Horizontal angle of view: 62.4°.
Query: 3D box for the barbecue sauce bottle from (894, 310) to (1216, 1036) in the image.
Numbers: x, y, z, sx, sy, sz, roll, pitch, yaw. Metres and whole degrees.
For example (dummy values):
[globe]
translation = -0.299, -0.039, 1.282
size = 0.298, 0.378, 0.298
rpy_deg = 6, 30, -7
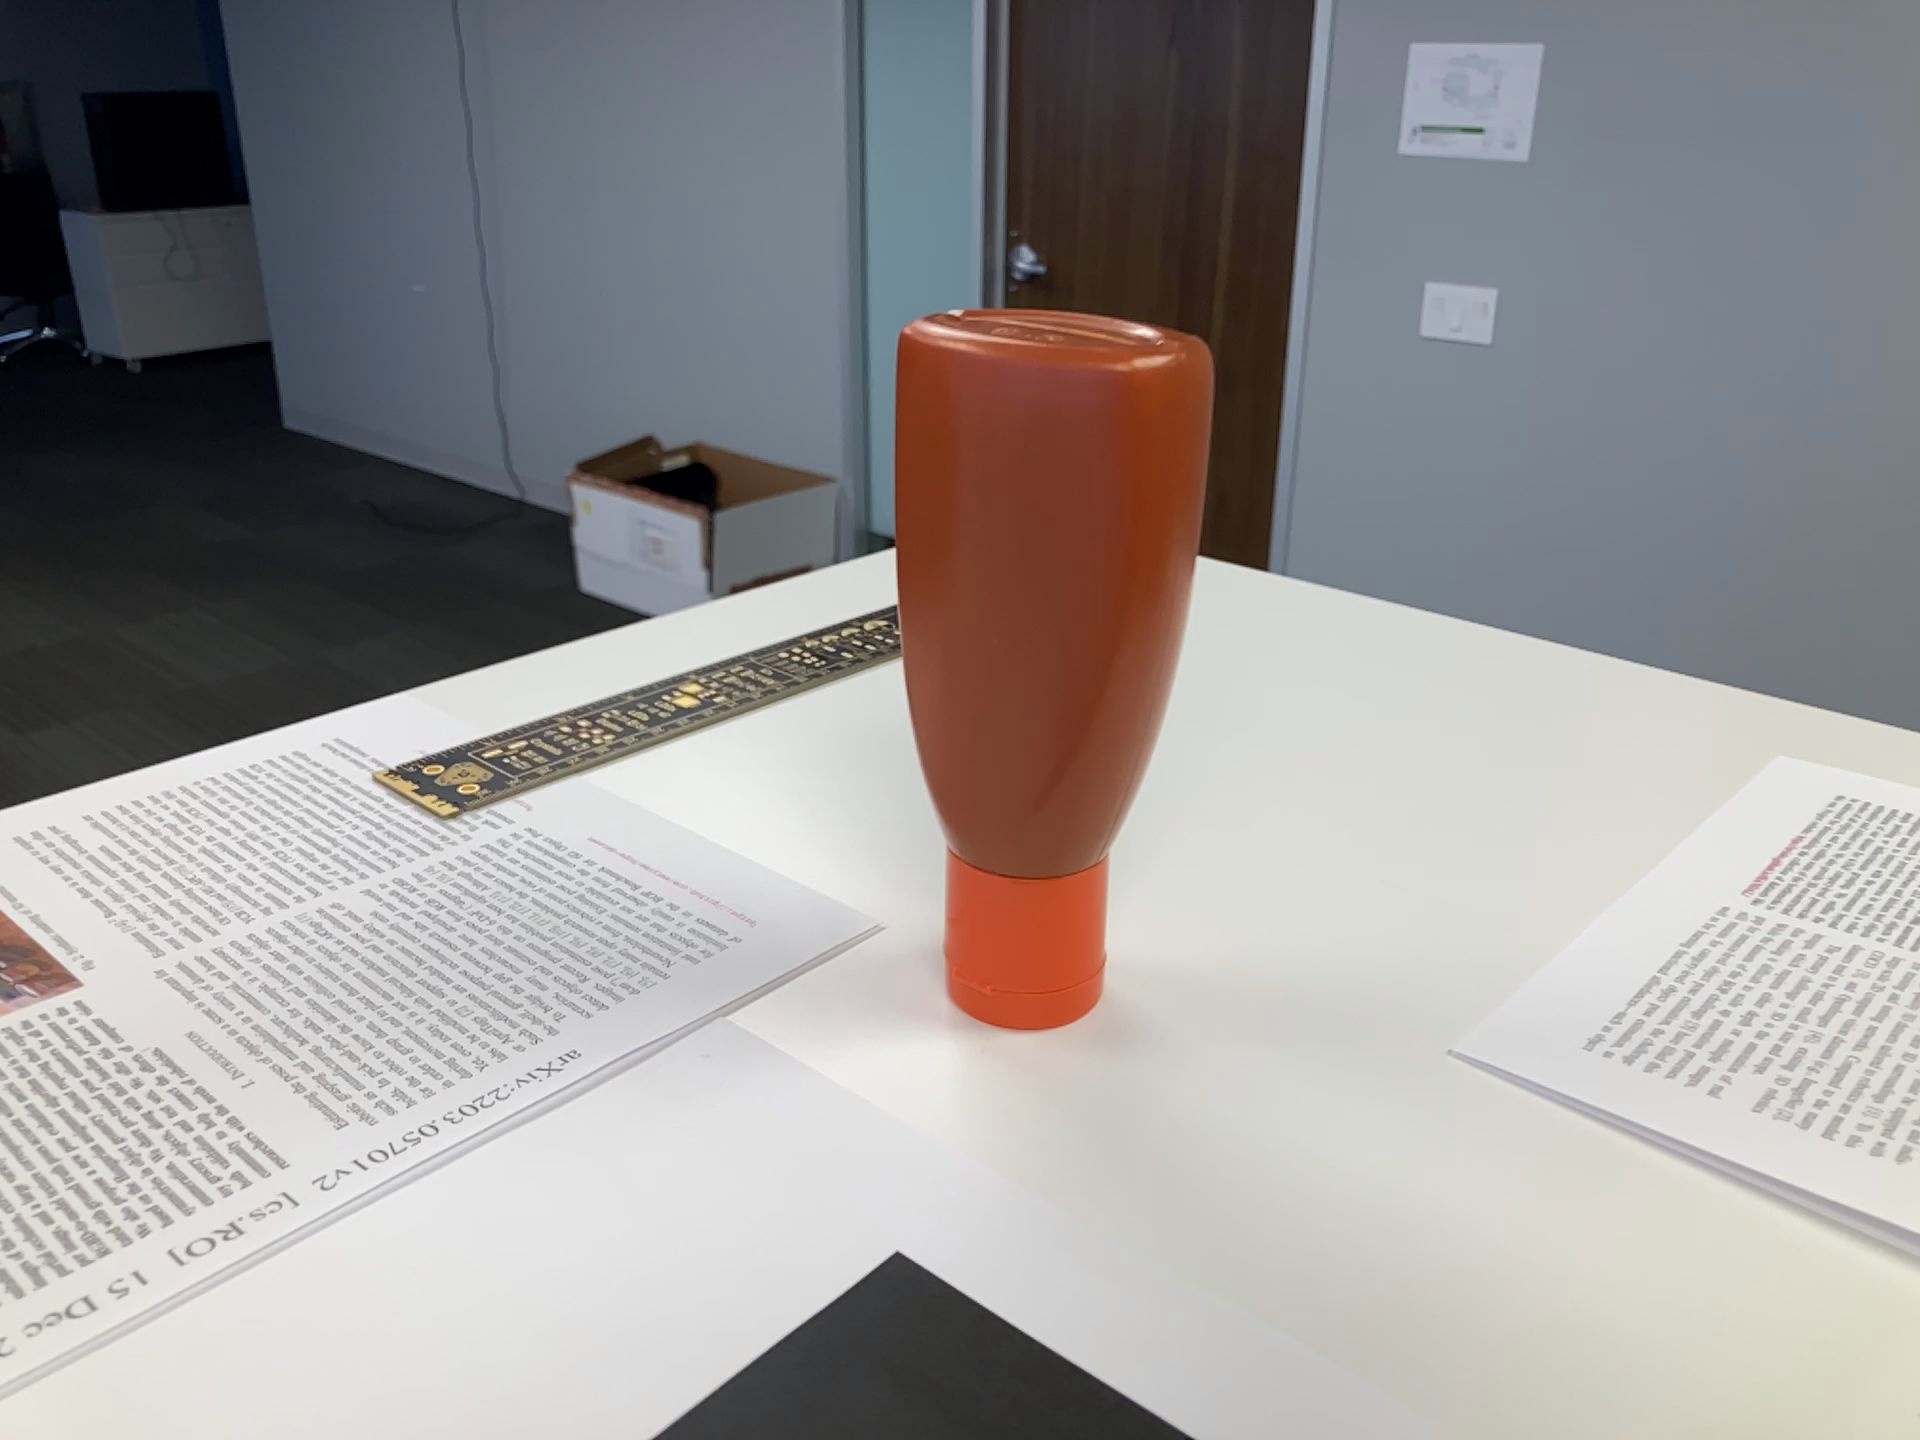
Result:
[barbecue sauce bottle]
translation = 0.016, -0.006, 0.331
size = 0.065, 0.148, 0.043
rpy_deg = 18, 27, 36
